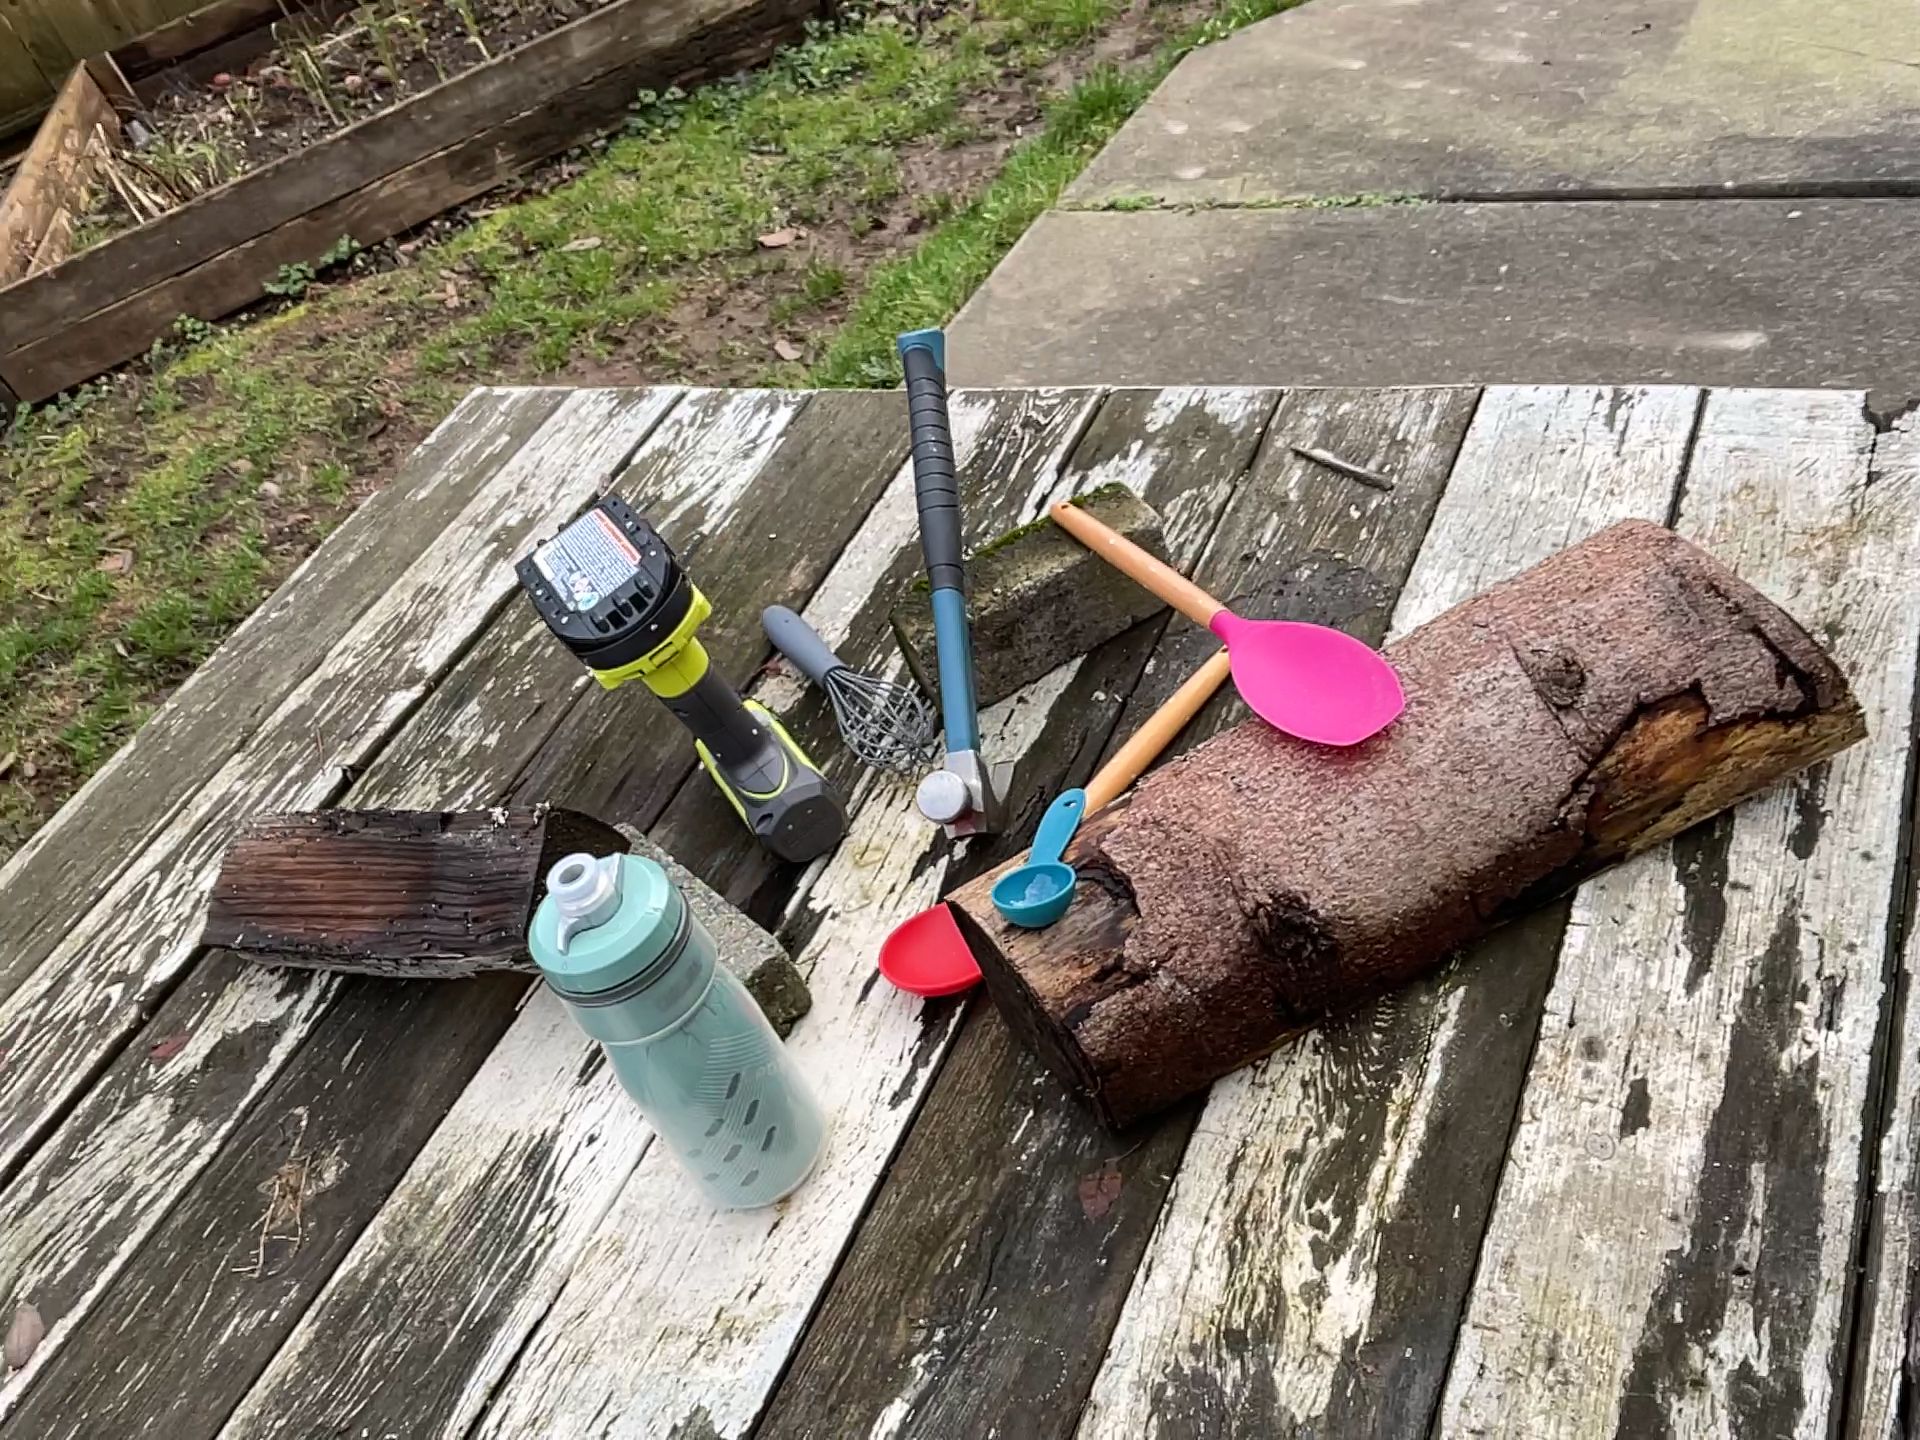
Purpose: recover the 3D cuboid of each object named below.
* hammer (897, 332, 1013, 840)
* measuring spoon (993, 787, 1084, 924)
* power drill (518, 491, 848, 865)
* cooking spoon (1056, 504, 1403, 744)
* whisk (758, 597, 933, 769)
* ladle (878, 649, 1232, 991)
[{"bbox_3d":[-0.009,-0.089,0.975,0.033,0.128,0.331,-9,74,12],"label":"hammer"},{"bbox_3d":[0.048,0.070,0.813,0.042,0.021,0.128,-8,21,18],"label":"measuring spoon"},{"bbox_3d":[-0.168,-0.025,0.981,0.080,0.222,0.171,-38,41,-6],"label":"power drill"},{"bbox_3d":[0.137,-0.065,0.912,0.068,0.017,0.319,-32,37,-10],"label":"cooking spoon"},{"bbox_3d":[-0.085,-0.034,1.079,0.055,0.055,0.239,-27,37,-17],"label":"whisk"},{"bbox_3d":[0.072,0.053,0.938,0.069,0.031,0.315,22,55,42],"label":"ladle"}]
